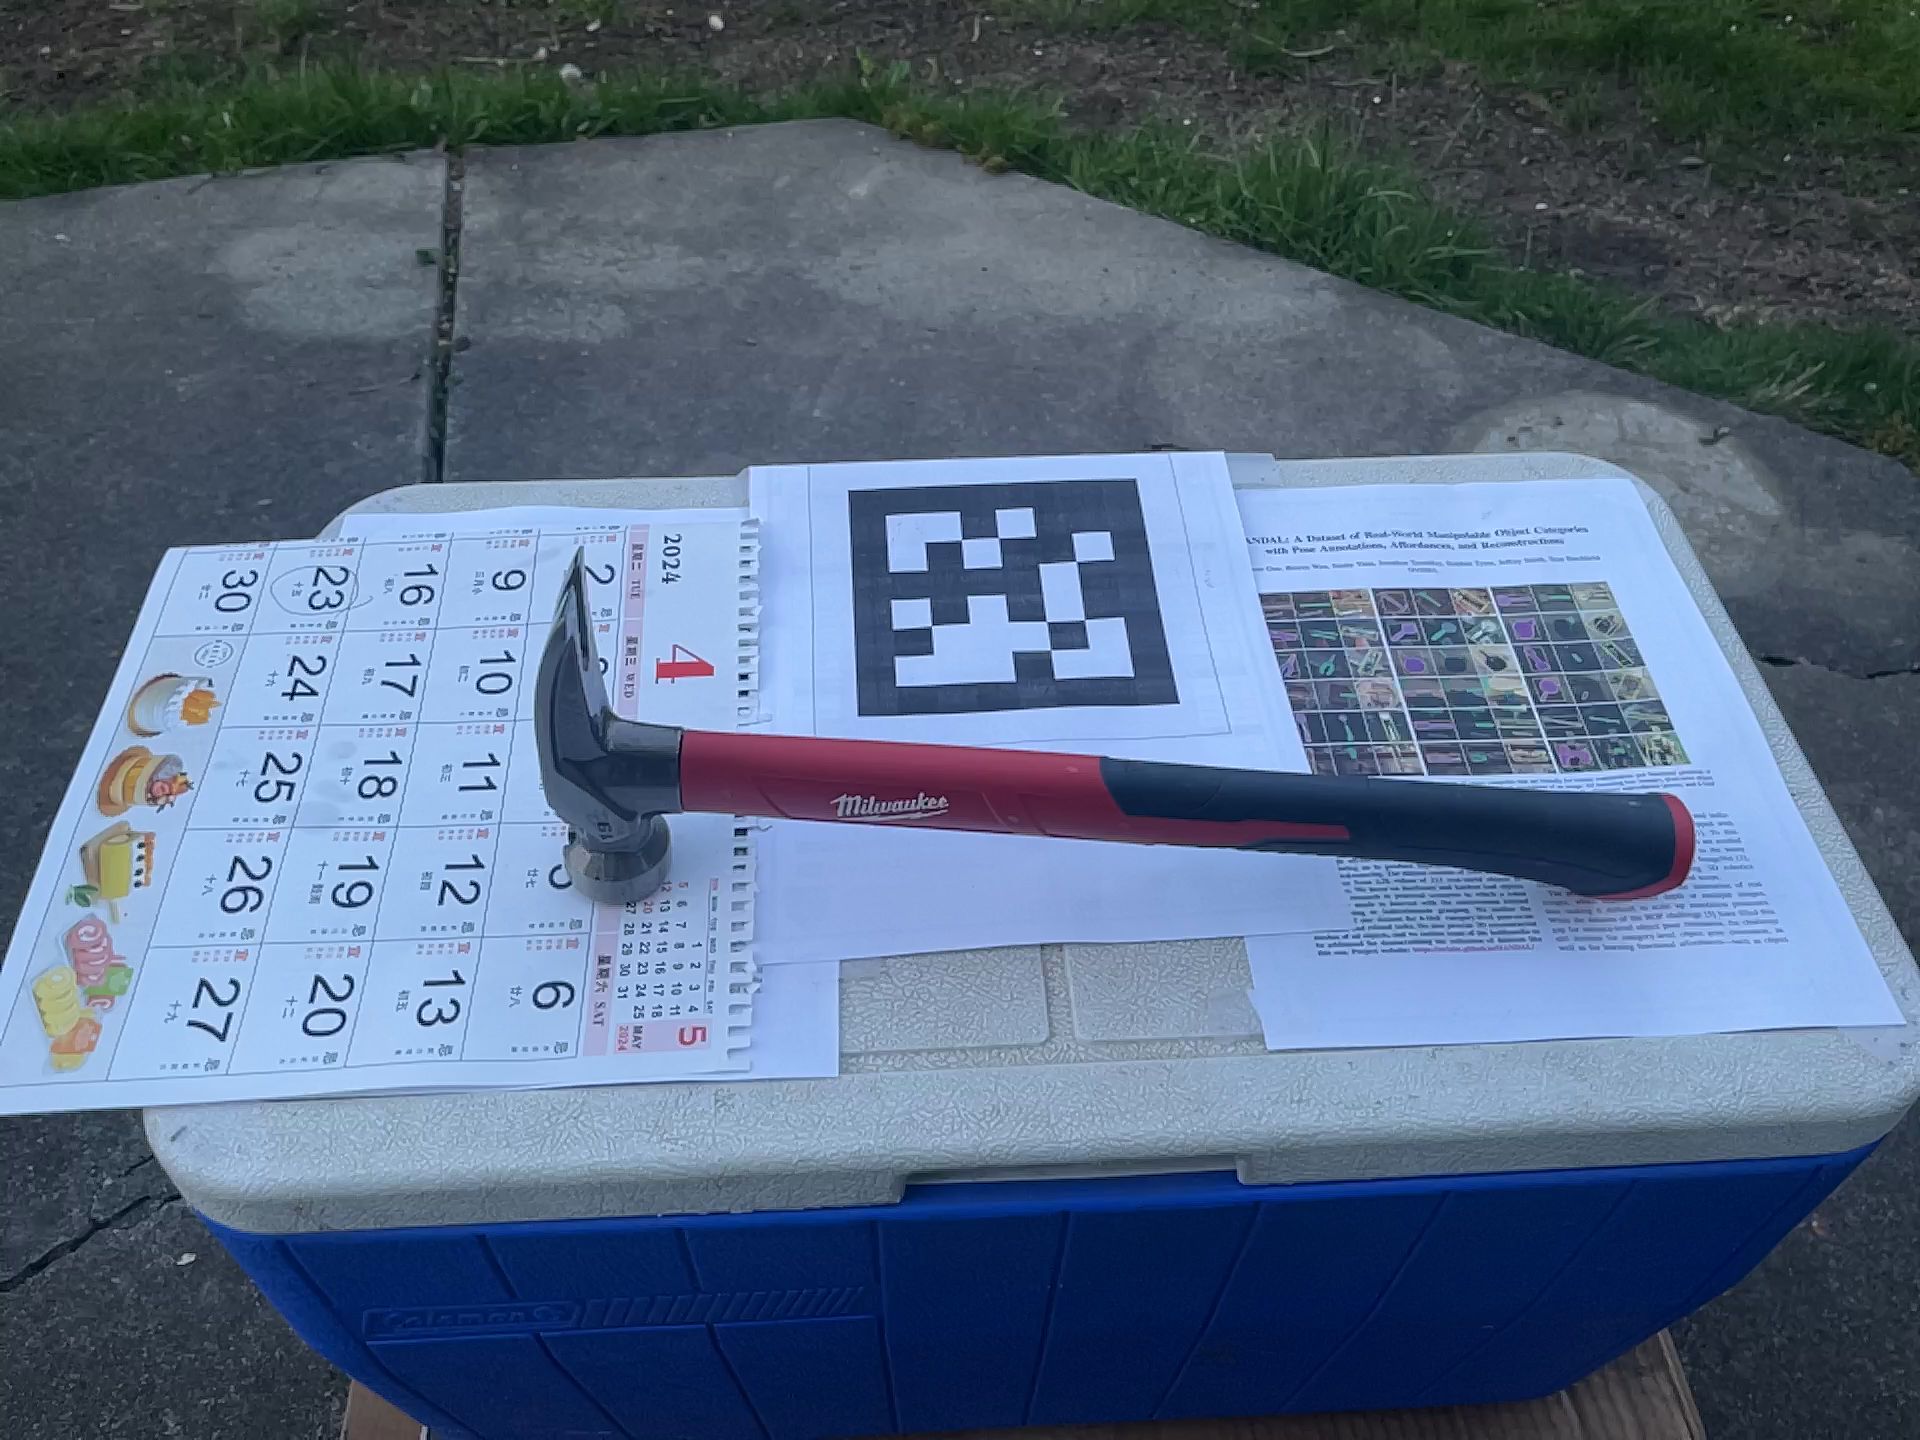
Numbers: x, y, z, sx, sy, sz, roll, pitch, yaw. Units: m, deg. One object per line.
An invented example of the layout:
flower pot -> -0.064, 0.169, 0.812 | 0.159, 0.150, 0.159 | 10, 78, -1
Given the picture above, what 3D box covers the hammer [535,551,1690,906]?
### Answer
hammer -> 0.057, 0.018, 0.517 | 0.386, 0.143, 0.038 | 4, 48, -3
